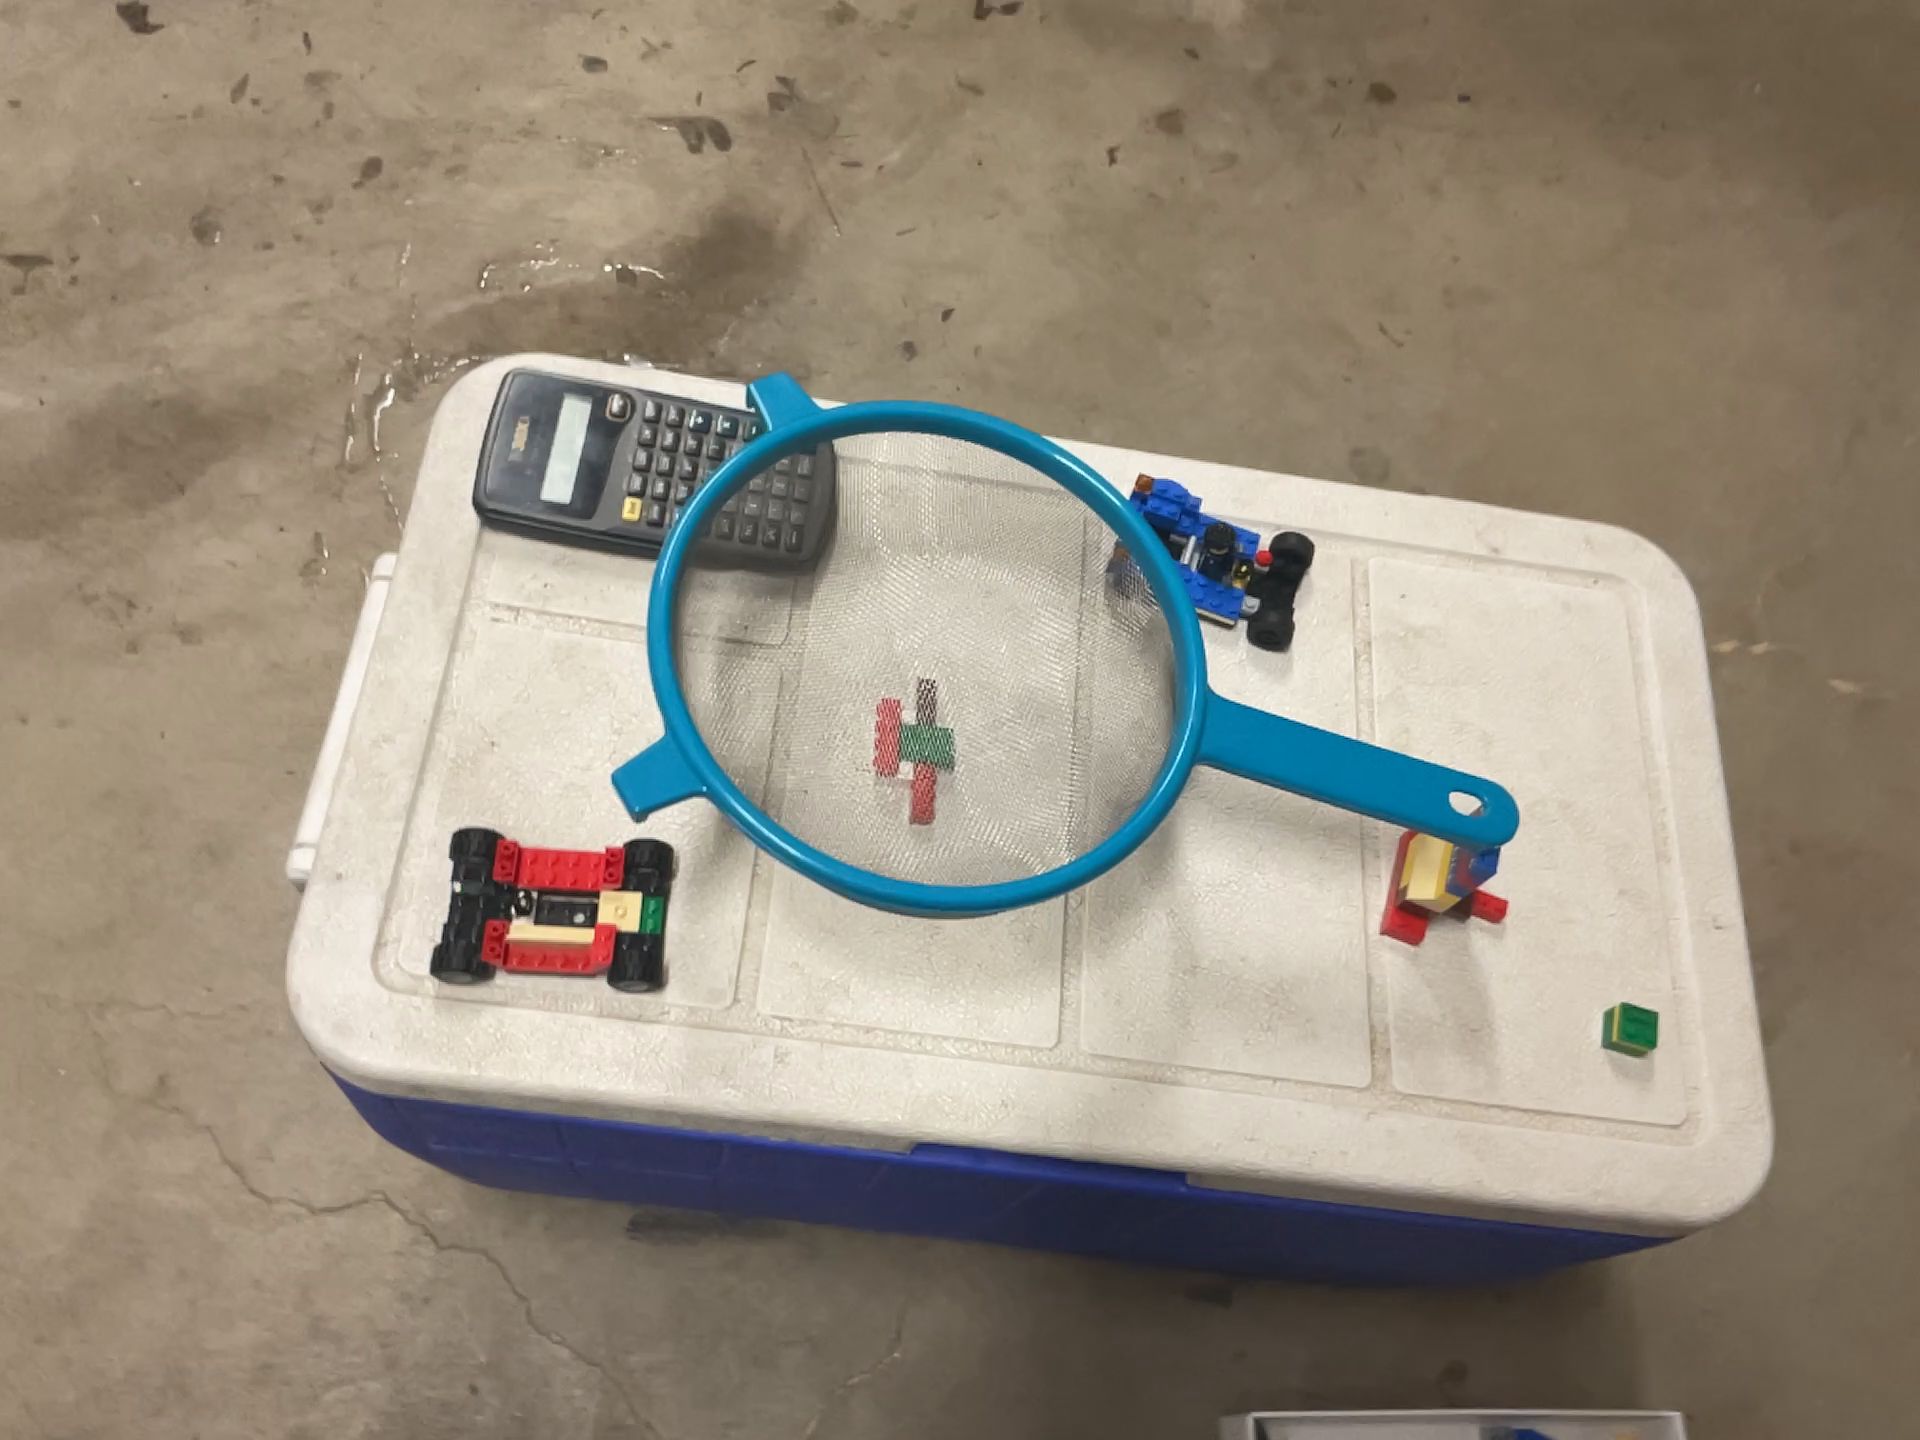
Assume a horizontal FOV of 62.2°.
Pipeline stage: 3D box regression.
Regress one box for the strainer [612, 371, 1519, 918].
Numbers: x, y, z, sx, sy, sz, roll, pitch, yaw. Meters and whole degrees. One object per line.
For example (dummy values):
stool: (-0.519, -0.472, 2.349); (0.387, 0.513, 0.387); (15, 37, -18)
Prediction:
strainer: (0.044, 0.006, 0.627); (0.340, 0.095, 0.211); (17, 62, -7)
